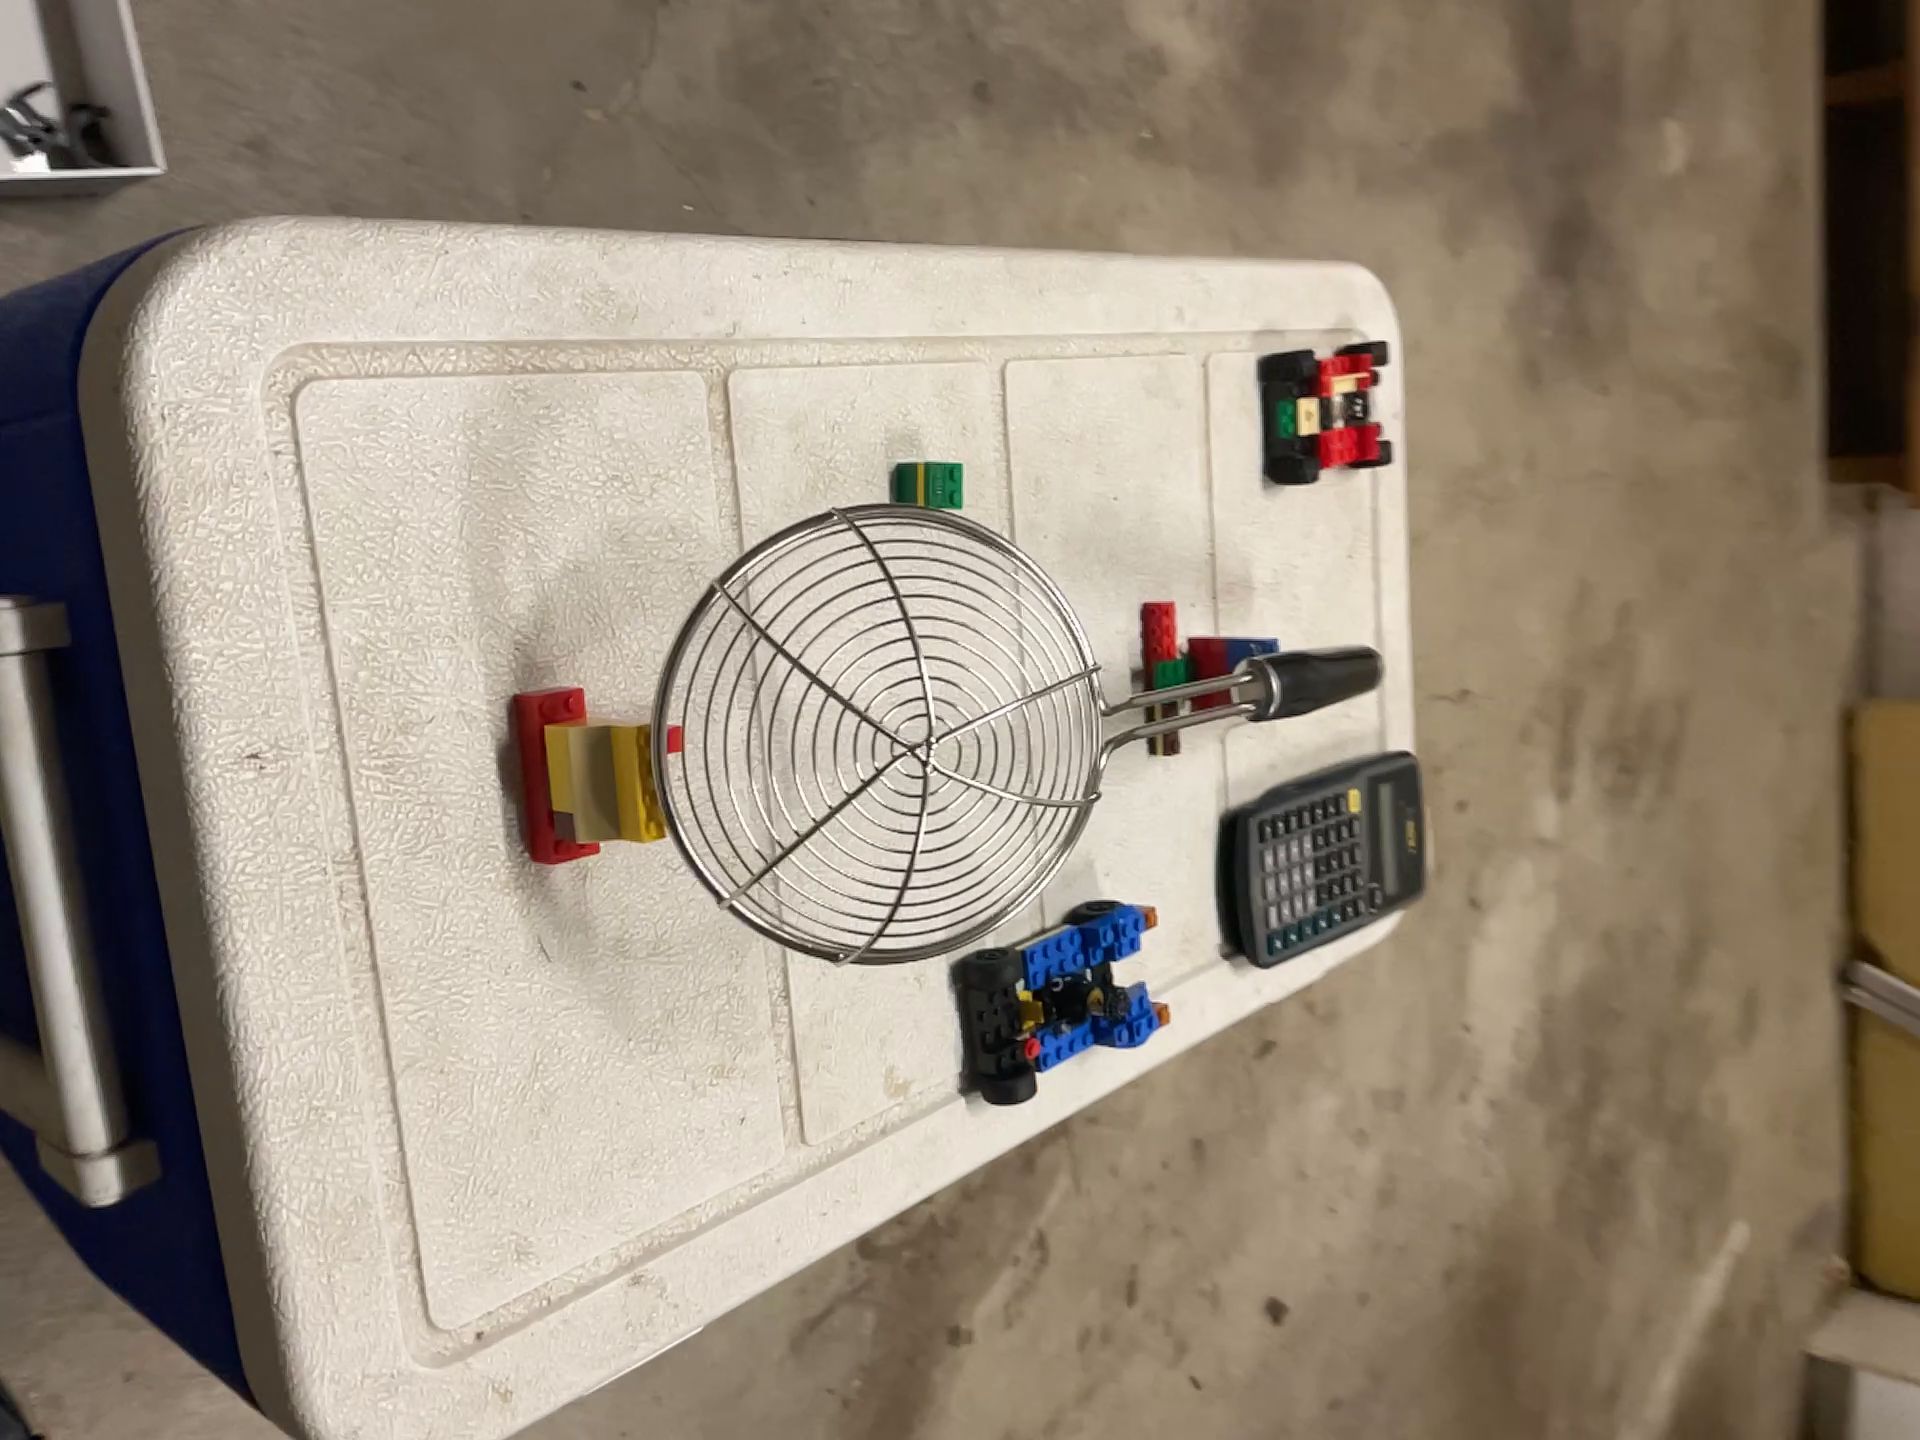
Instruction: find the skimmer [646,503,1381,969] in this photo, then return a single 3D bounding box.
[{"bbox_3d":[0.050,-0.007,0.545,0.363,0.090,0.127,-10,100,-58],"label":"skimmer"}]
